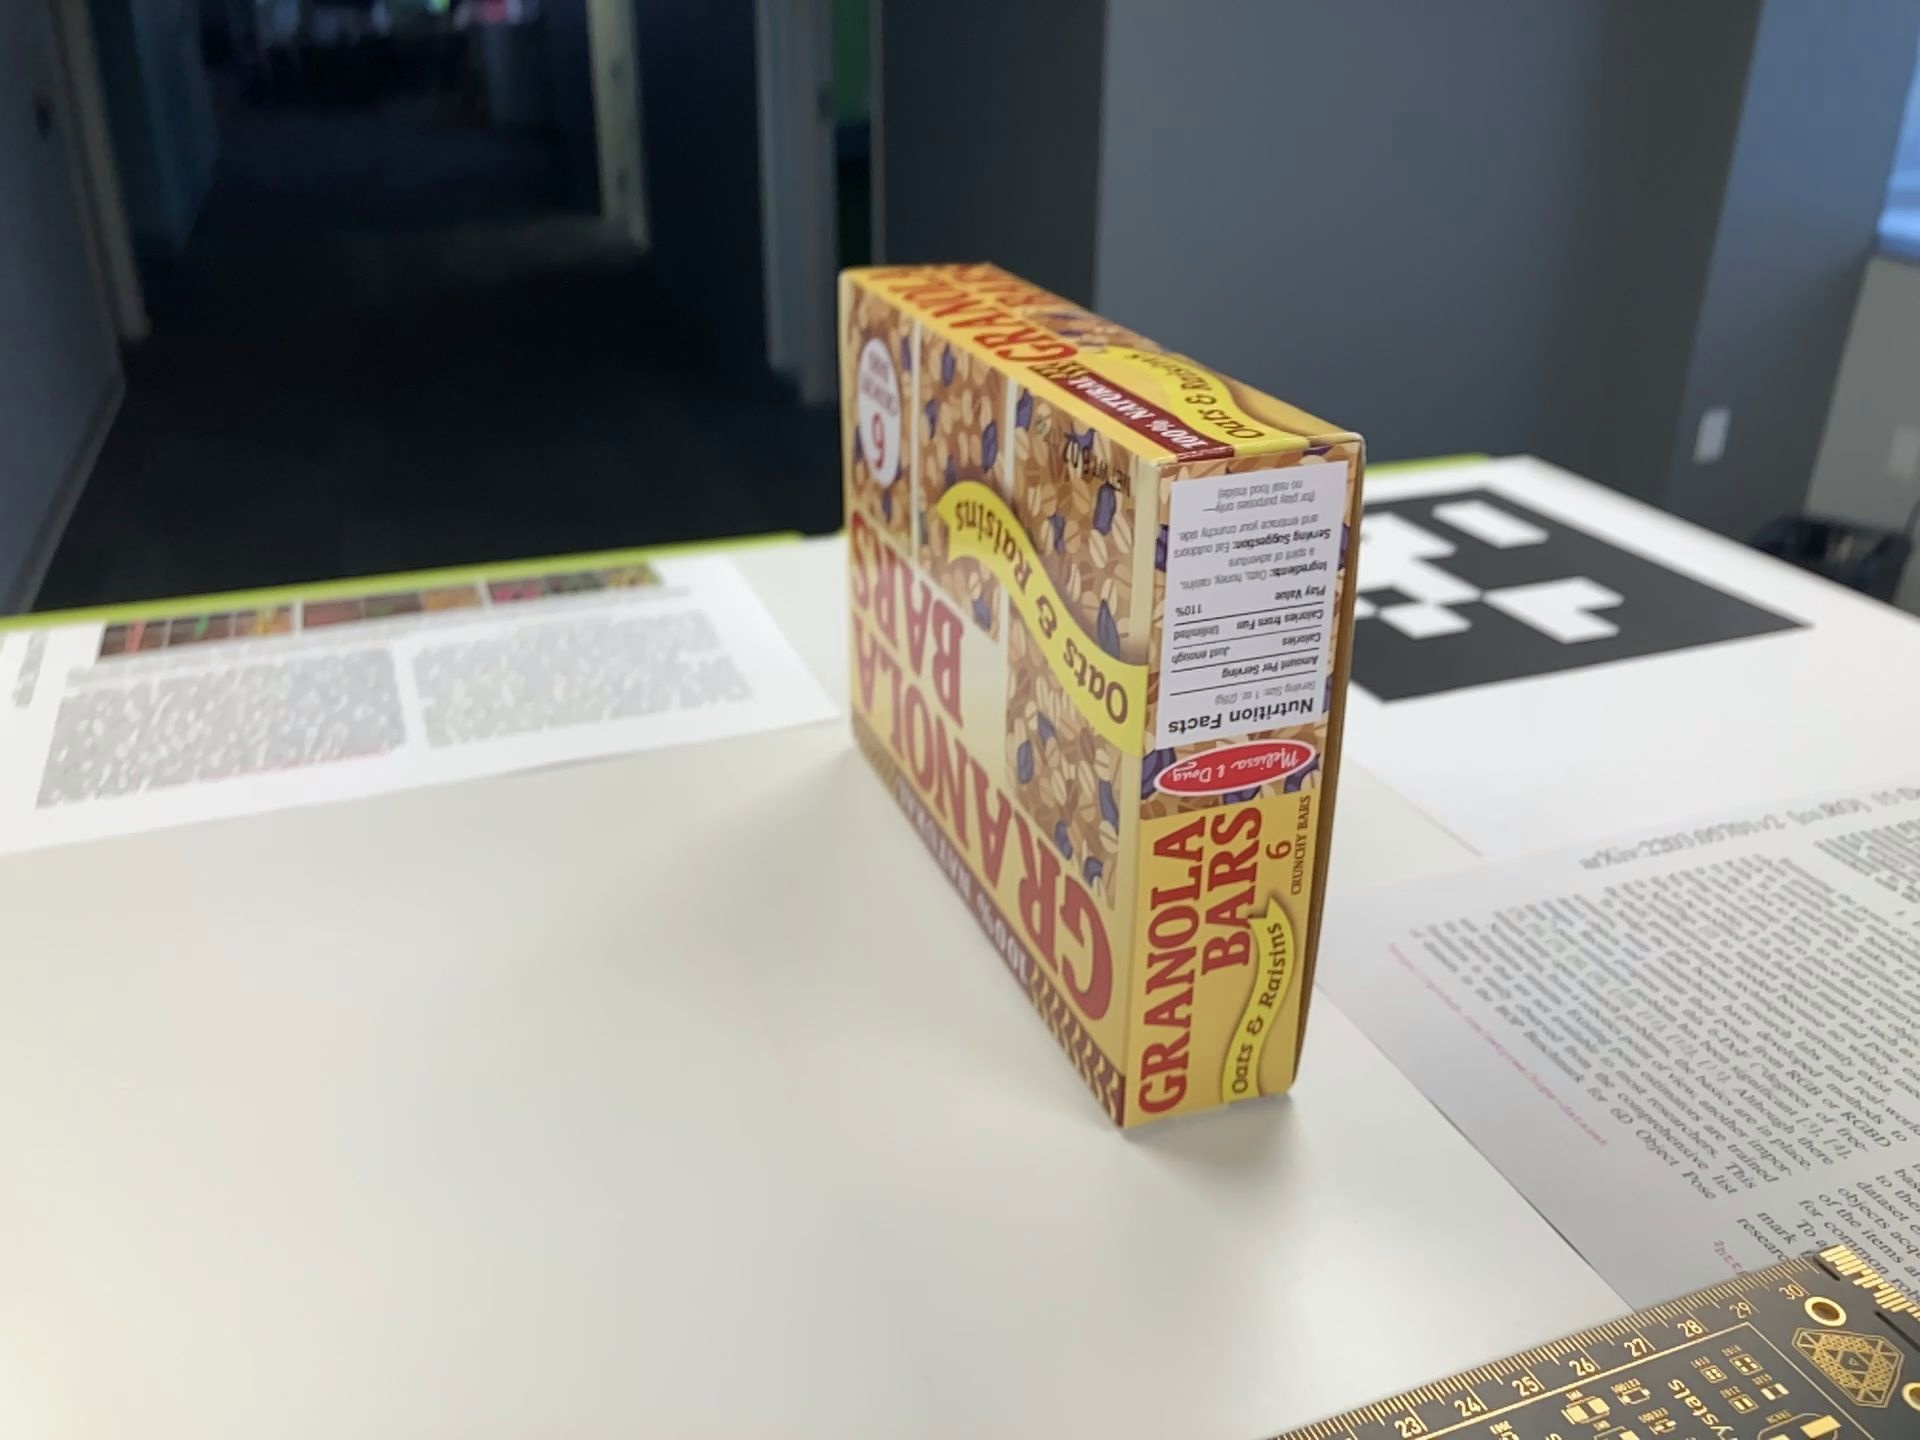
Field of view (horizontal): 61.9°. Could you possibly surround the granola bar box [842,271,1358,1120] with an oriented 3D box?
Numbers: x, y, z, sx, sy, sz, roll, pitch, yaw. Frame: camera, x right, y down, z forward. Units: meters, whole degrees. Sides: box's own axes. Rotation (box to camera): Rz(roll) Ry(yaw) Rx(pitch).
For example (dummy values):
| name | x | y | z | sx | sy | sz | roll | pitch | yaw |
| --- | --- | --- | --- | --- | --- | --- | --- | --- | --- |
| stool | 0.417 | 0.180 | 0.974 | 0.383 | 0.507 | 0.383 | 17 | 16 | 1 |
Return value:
| name | x | y | z | sx | sy | sz | roll | pitch | yaw |
| --- | --- | --- | --- | --- | --- | --- | --- | --- | --- |
| granola bar box | 0.017 | -0.018 | 0.335 | 0.039 | 0.124 | 0.165 | -8 | 27 | -18 |
